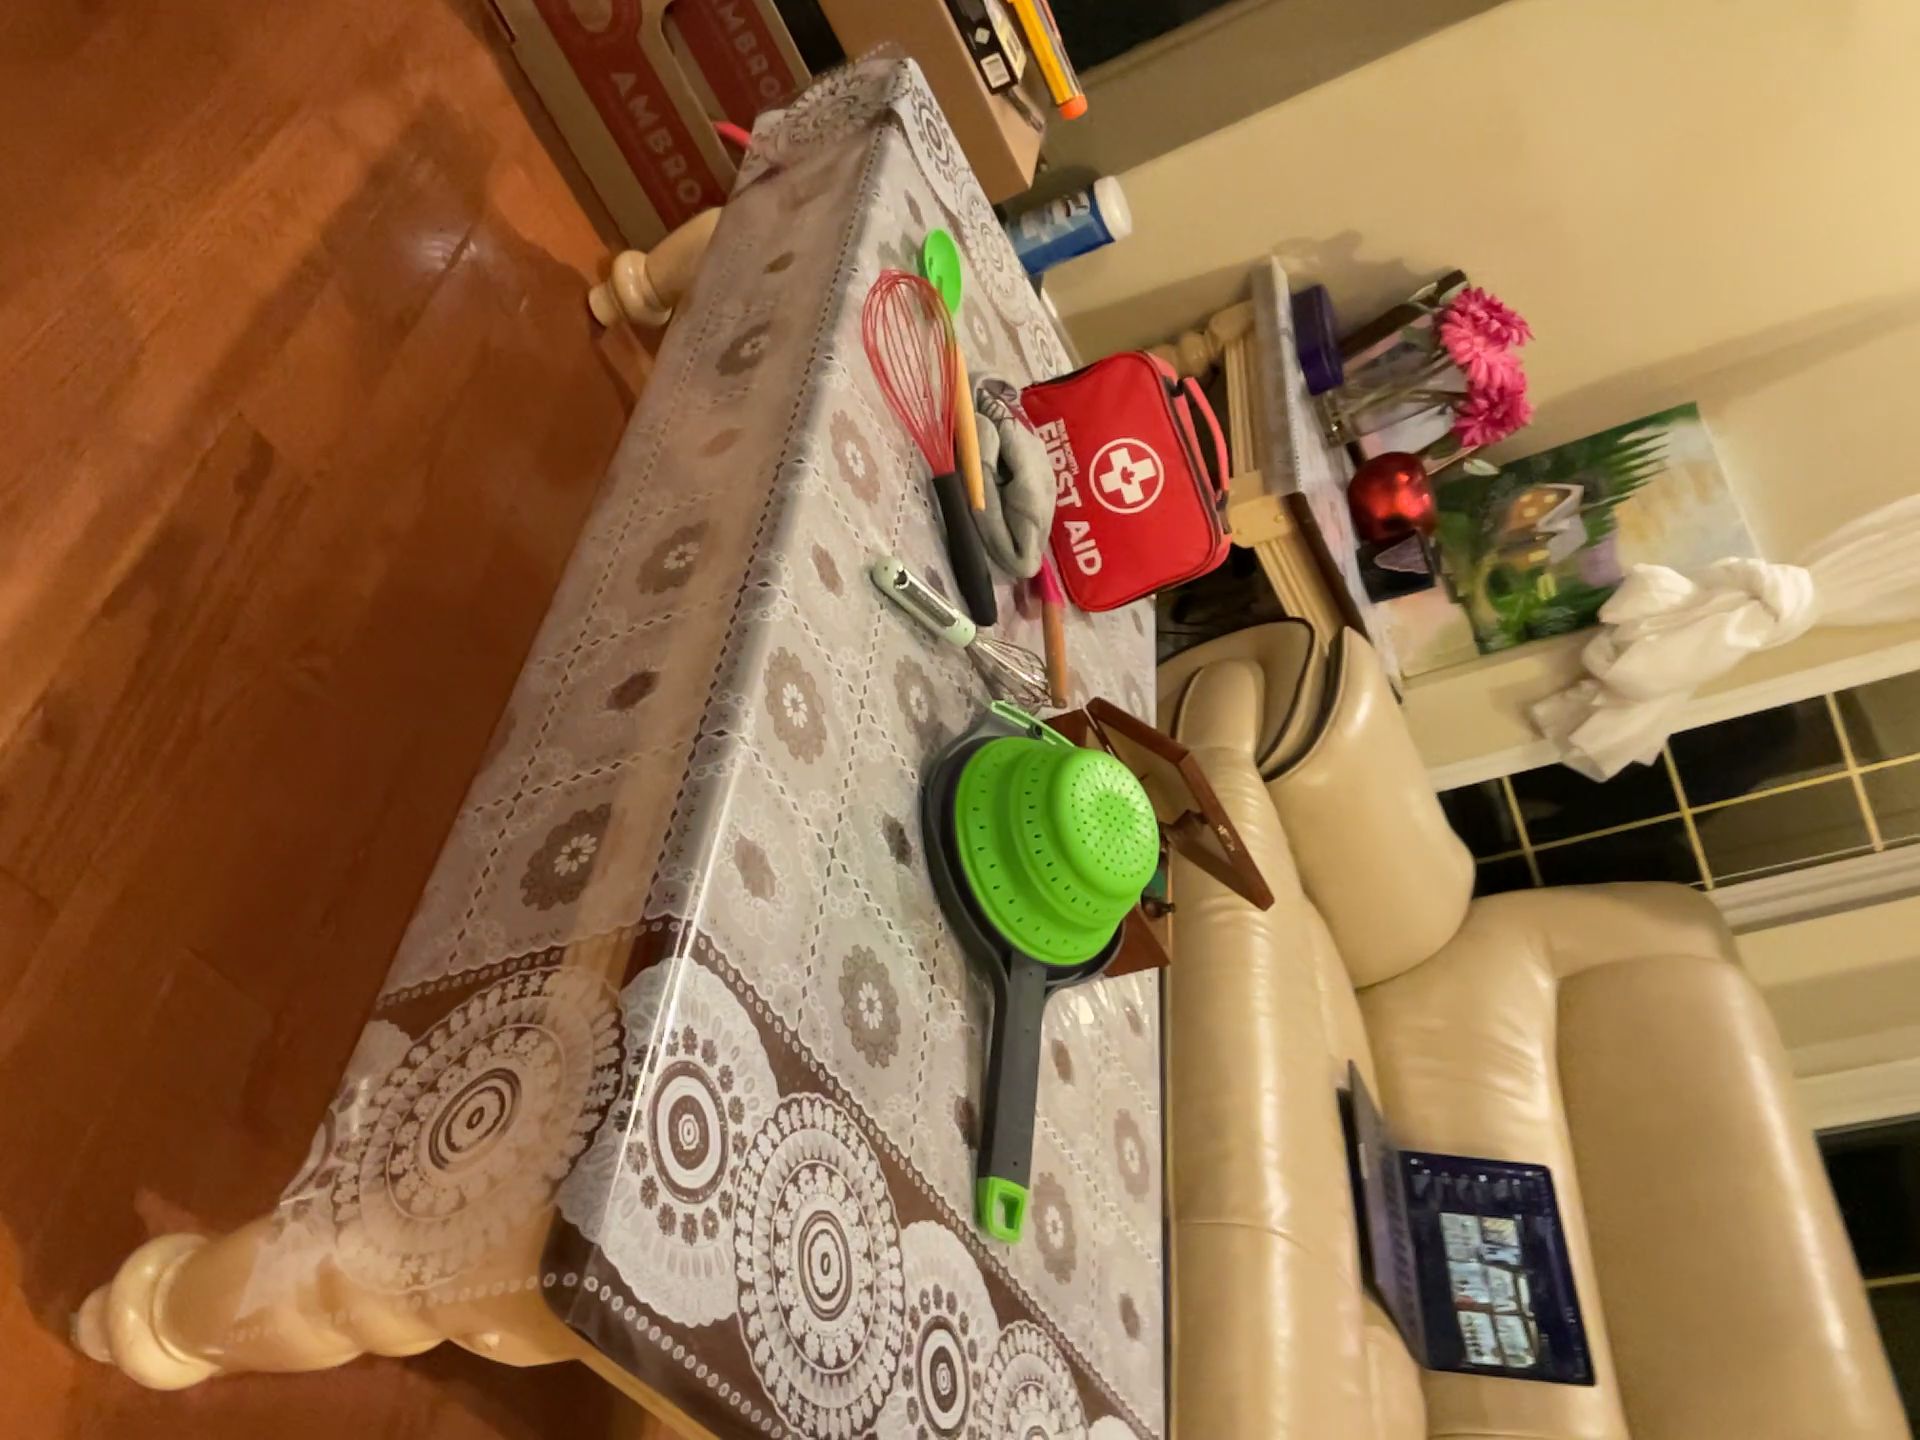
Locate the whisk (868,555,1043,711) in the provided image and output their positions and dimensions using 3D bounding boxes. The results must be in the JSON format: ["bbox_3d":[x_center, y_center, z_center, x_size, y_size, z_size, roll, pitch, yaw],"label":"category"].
[{"bbox_3d":[-0.001,-0.062,1.229,0.058,0.059,0.246,37,-2,39],"label":"whisk"}]

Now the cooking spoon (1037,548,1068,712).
[{"bbox_3d":[0.079,-0.087,1.386,0.068,0.017,0.319,60,14,-25],"label":"cooking spoon"}]

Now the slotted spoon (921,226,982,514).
[{"bbox_3d":[-0.005,-0.304,1.376,0.070,0.031,0.314,43,34,-52],"label":"slotted spoon"}]

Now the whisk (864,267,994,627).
[{"bbox_3d":[-0.016,-0.217,1.280,0.073,0.073,0.295,-55,131,-71],"label":"whisk"}]

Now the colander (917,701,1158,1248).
[{"bbox_3d":[0.066,0.155,1.094,0.204,0.094,0.398,31,50,-32],"label":"colander"}]
